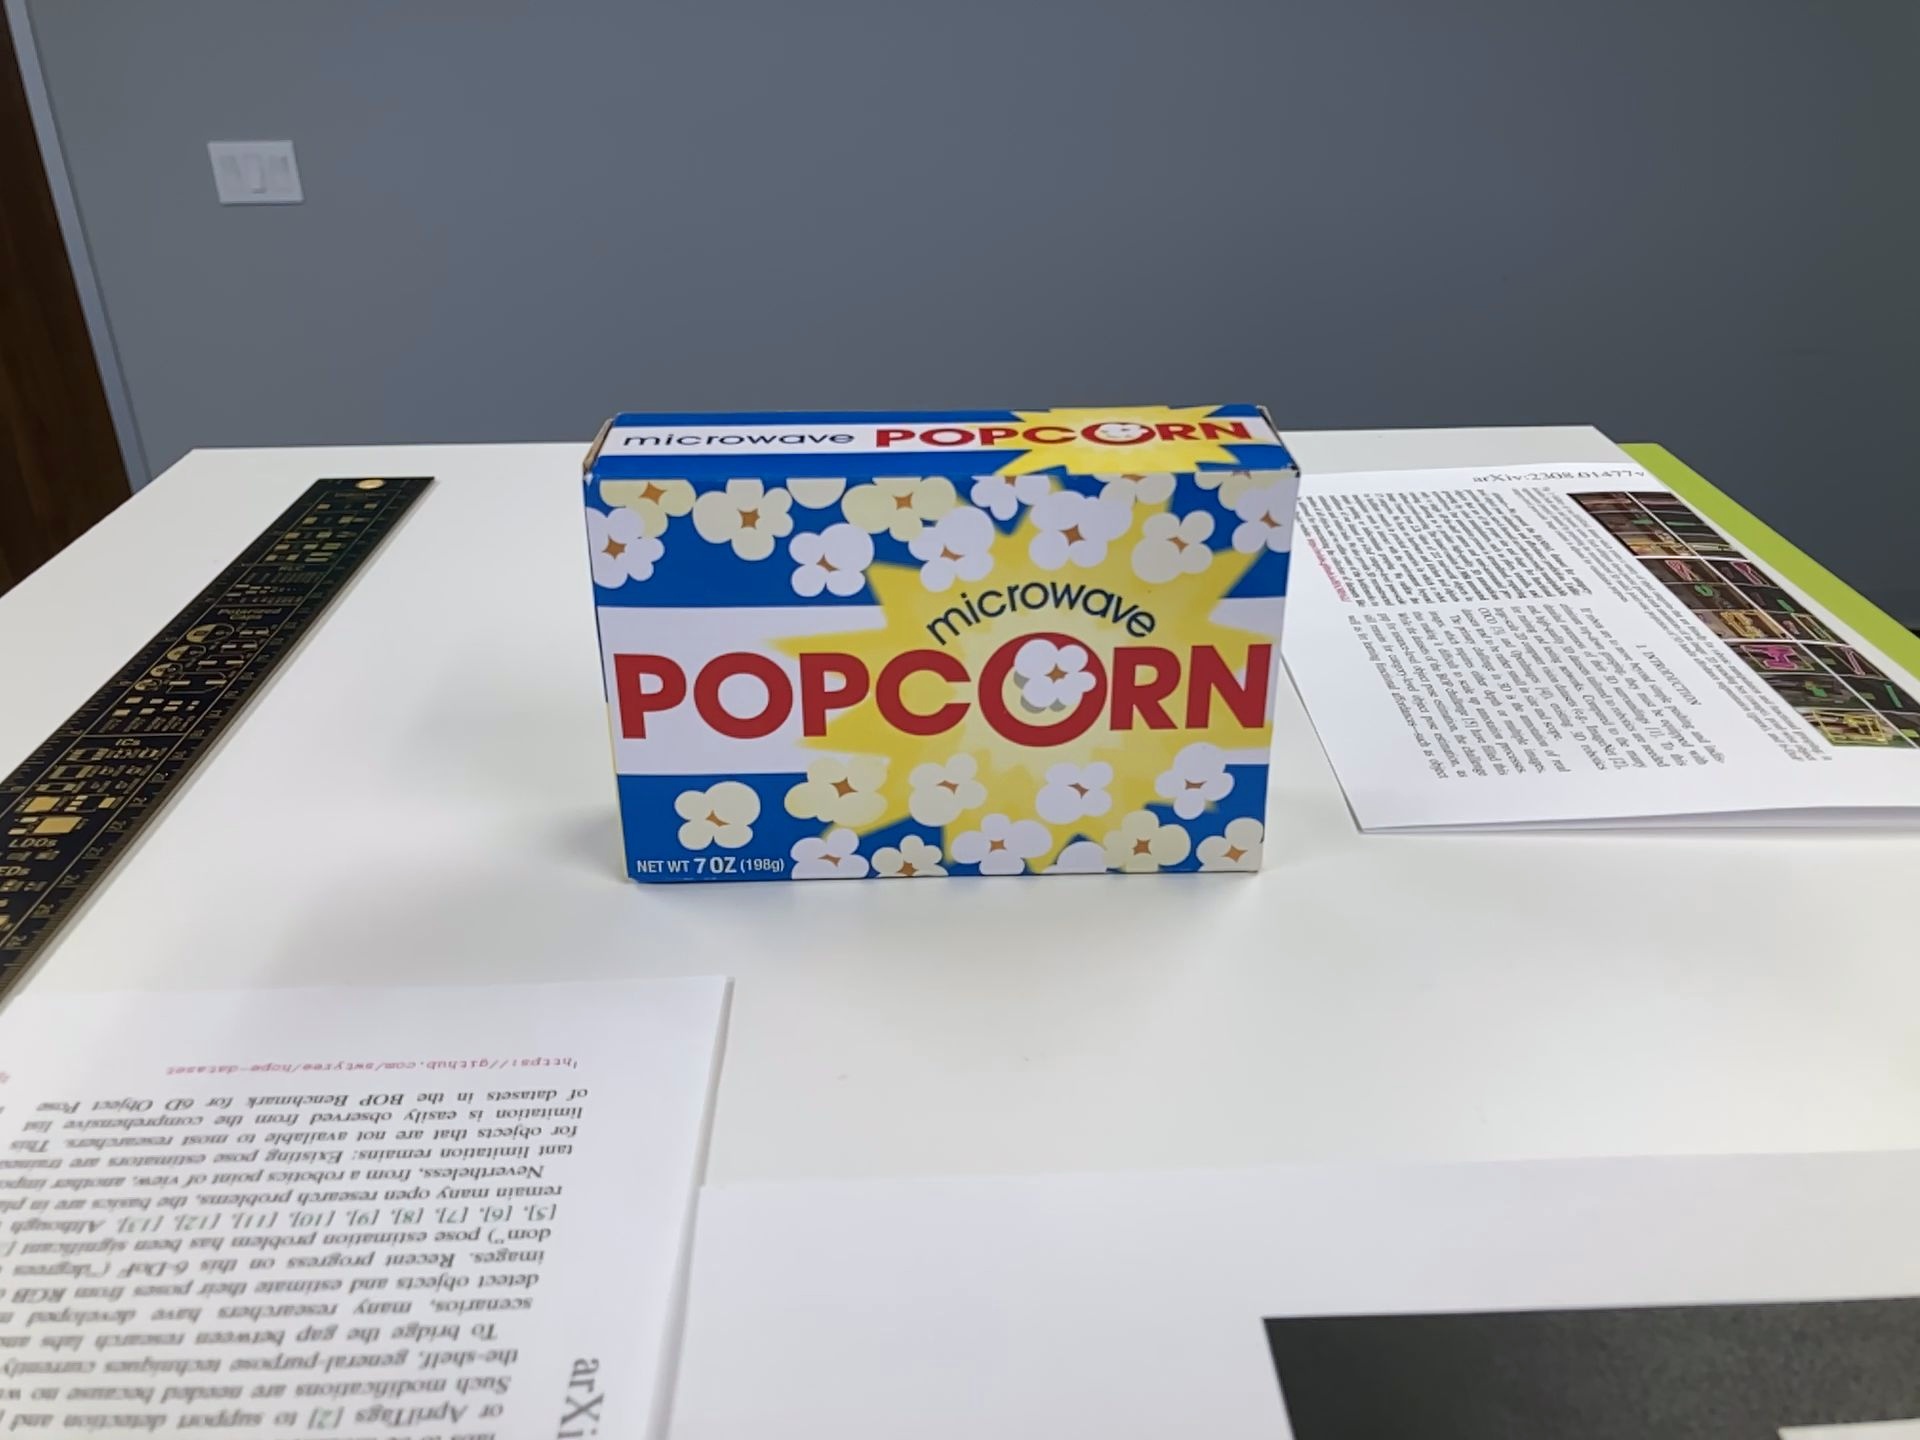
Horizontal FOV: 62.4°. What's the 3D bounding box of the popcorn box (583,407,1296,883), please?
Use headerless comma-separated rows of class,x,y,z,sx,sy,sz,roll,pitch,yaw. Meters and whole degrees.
popcorn box,-0.003,-0.014,0.307,0.126,0.085,0.038,-1,27,-1
